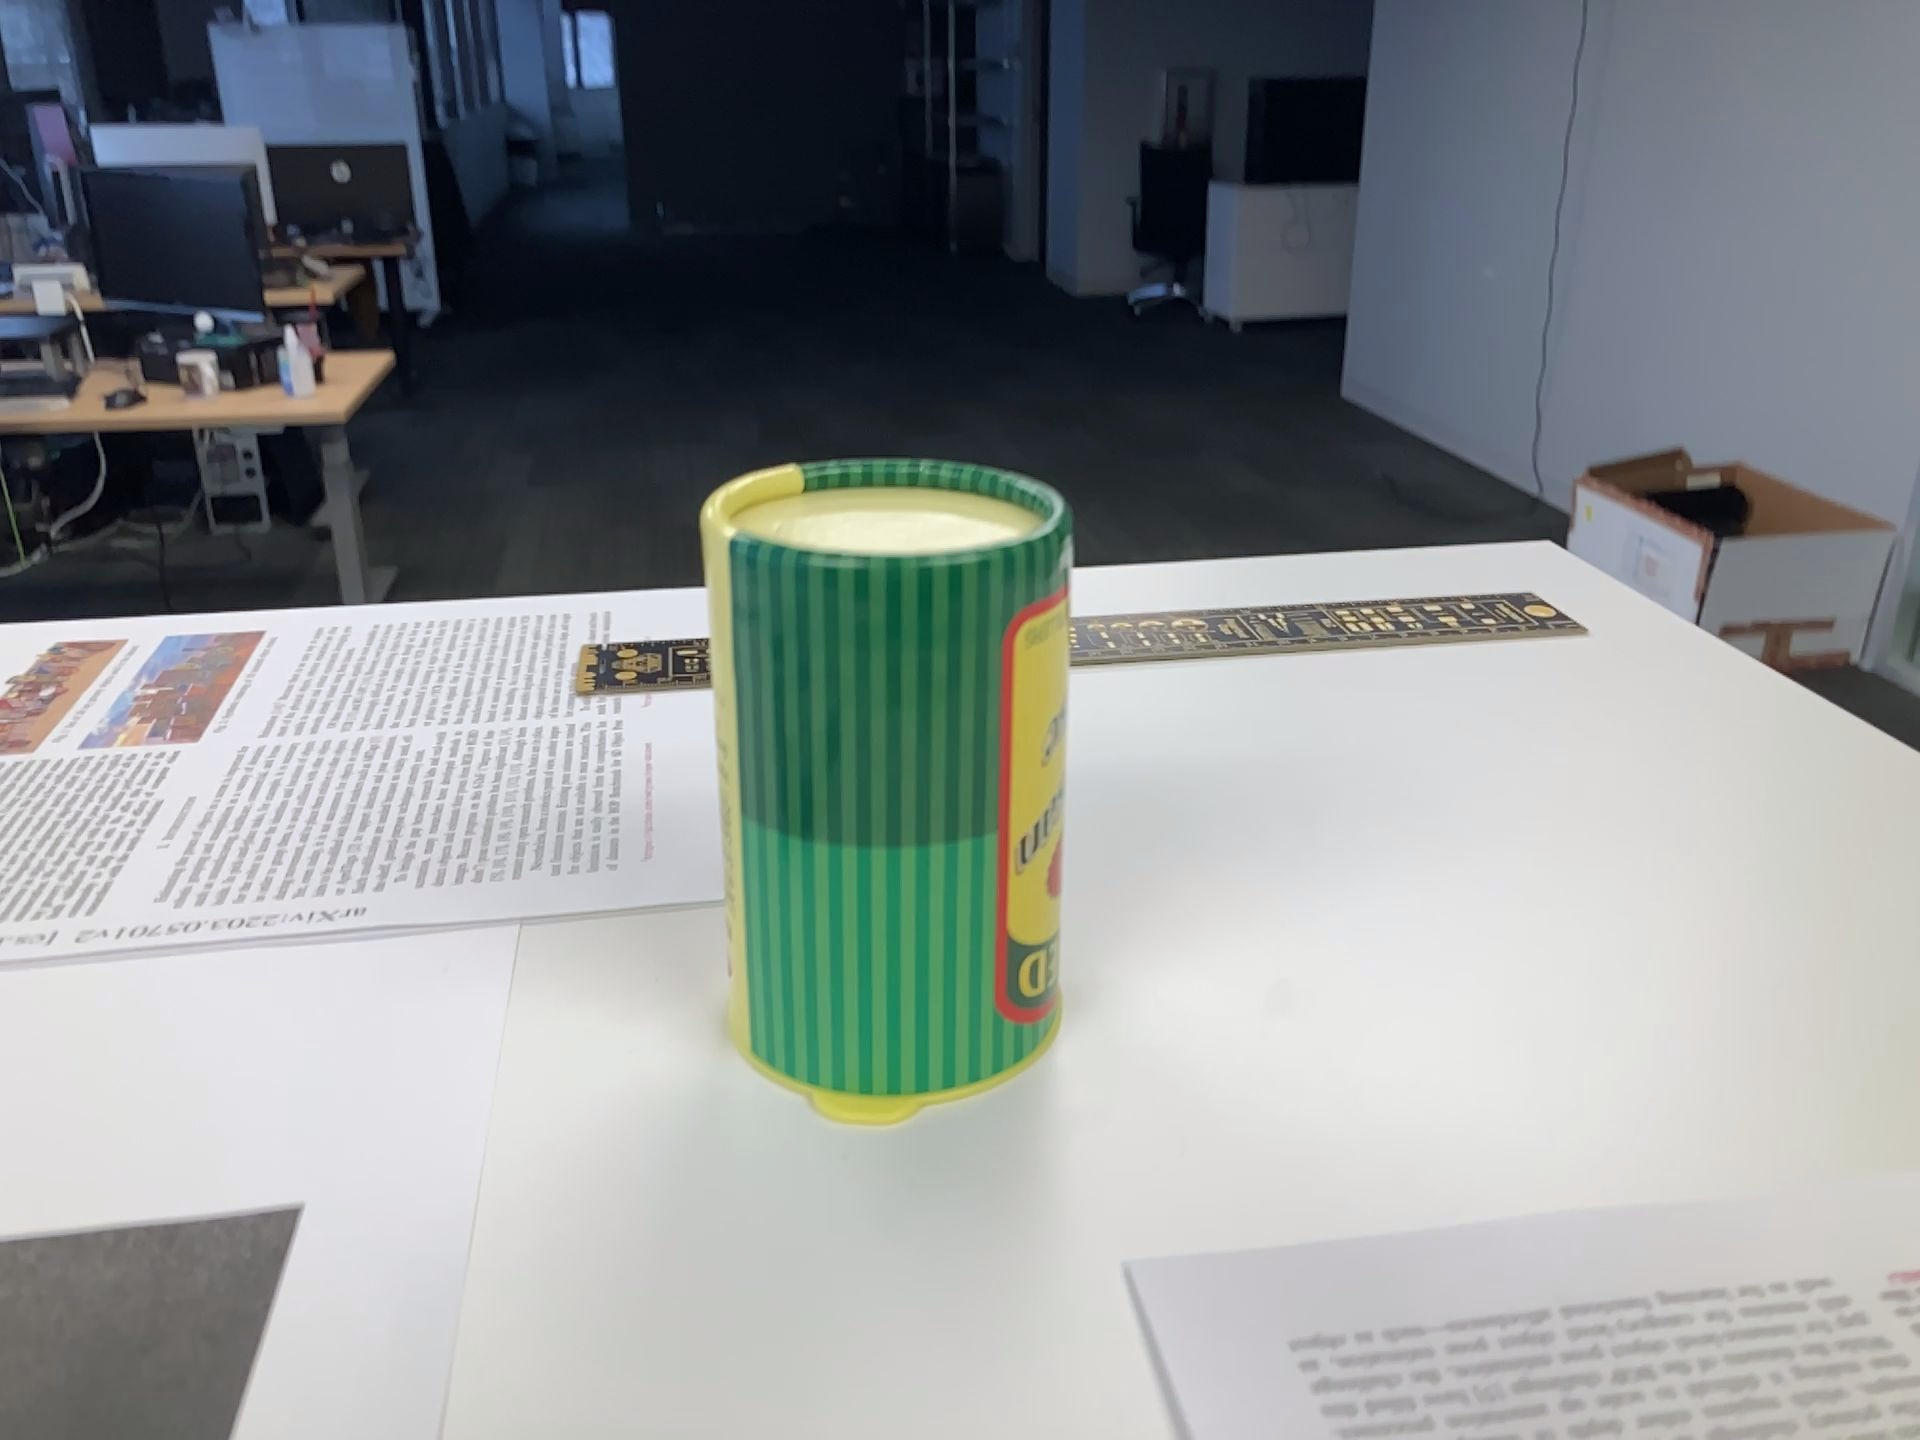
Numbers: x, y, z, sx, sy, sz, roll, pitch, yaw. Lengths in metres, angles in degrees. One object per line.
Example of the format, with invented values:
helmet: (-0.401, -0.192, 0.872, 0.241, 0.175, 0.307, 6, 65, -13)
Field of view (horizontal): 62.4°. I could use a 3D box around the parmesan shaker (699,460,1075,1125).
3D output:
parmesan shaker: (-0.013, 0.010, 0.291, 0.071, 0.103, 0.071, 0, 23, 0)
